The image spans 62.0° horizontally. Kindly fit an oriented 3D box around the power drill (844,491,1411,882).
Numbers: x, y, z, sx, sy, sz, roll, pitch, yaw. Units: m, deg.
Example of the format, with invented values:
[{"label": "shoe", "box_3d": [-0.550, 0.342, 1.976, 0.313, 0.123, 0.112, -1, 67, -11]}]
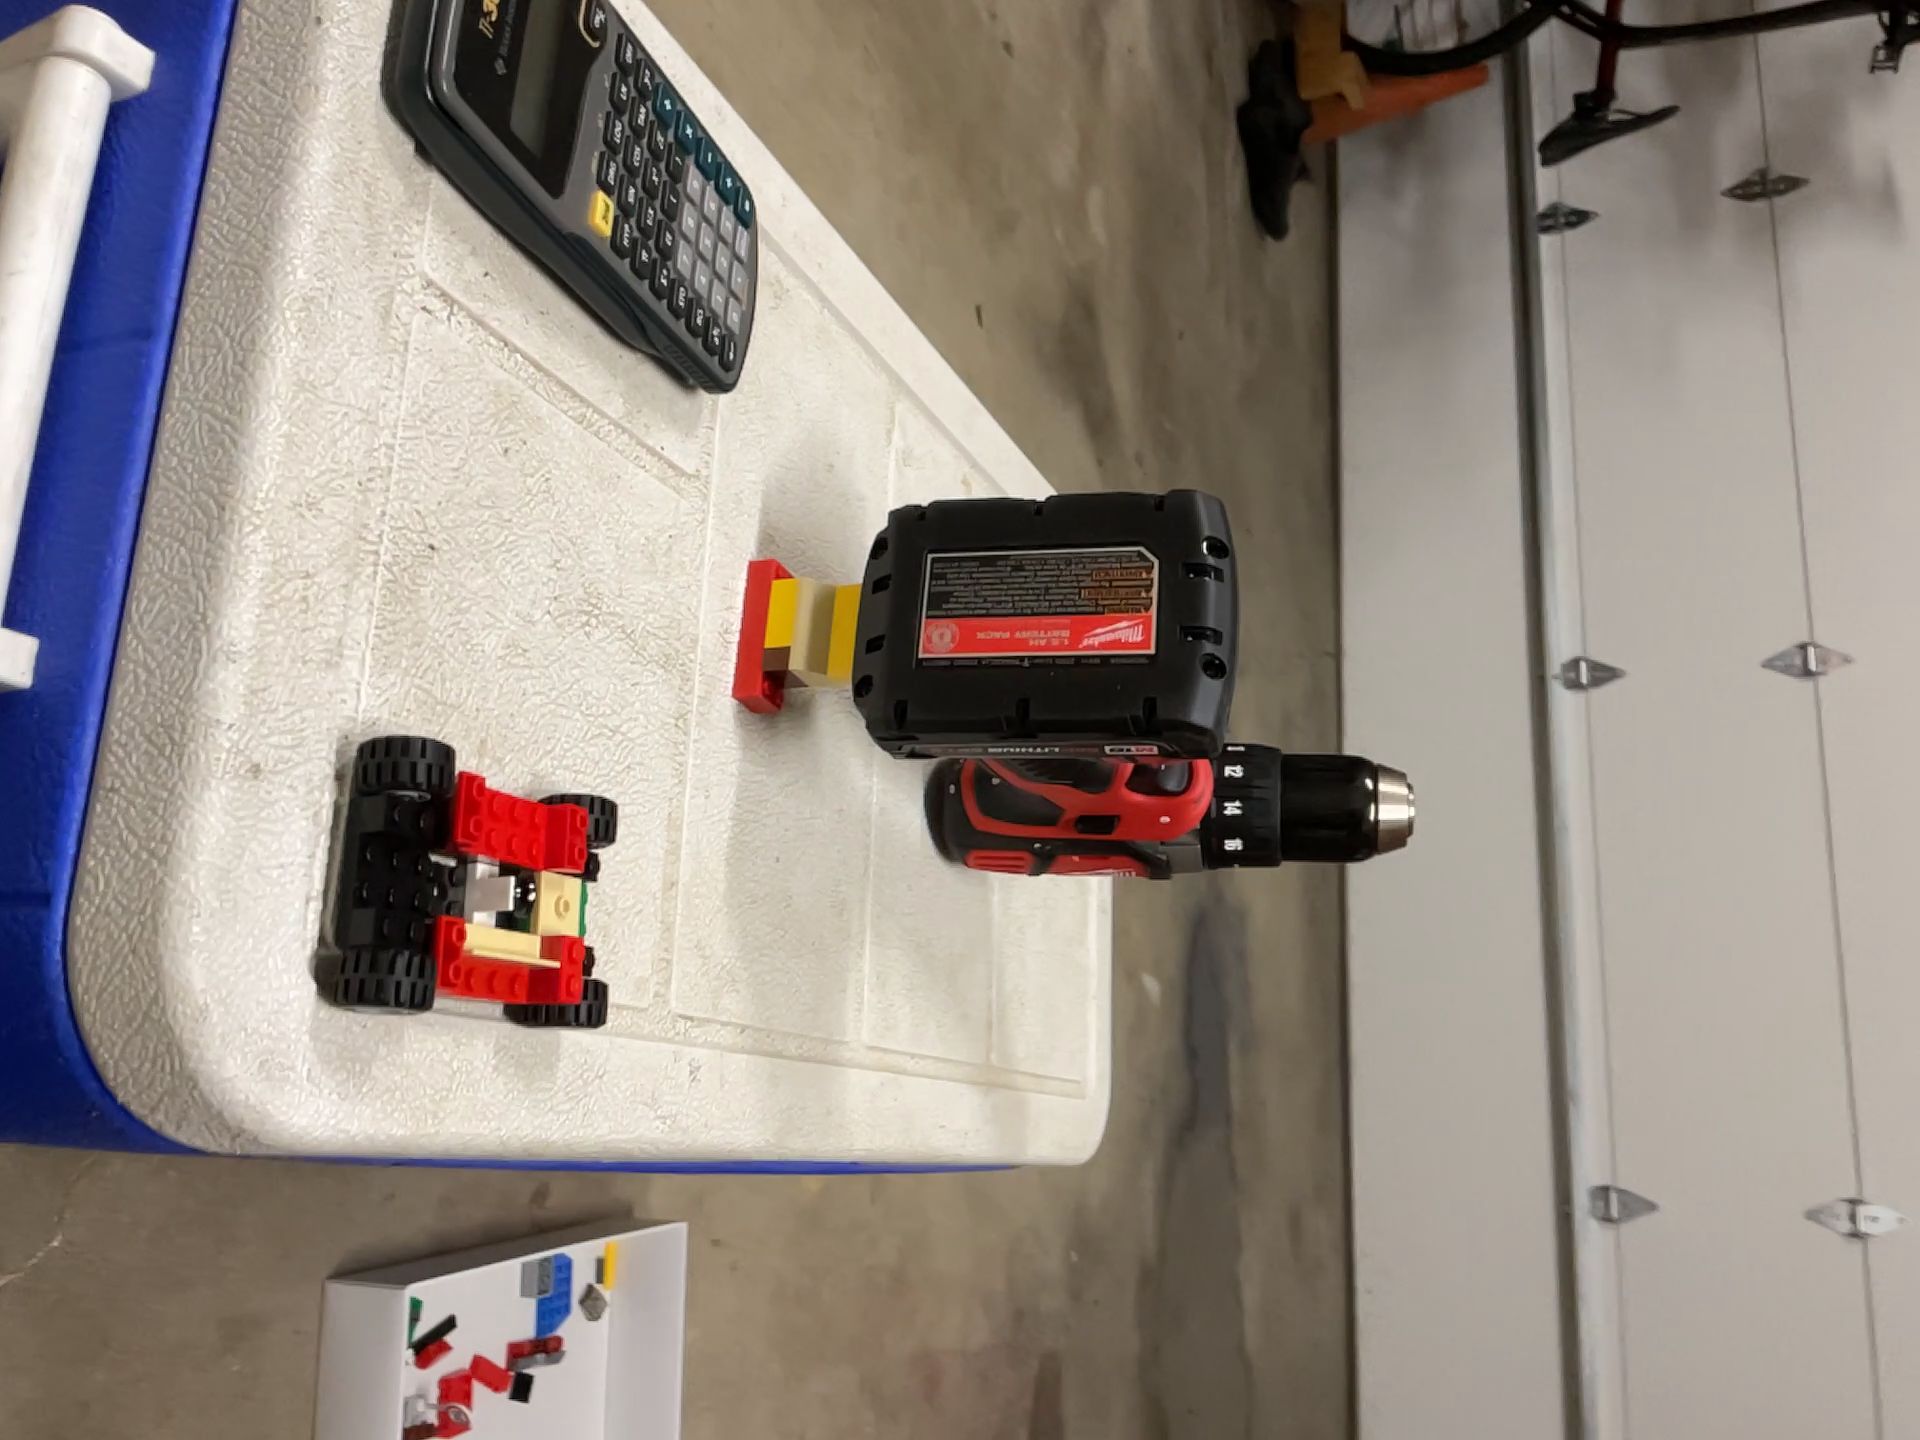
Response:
[{"label": "power drill", "box_3d": [0.067, 0.006, 0.573, 0.226, 0.188, 0.080, 59, 34, -65]}]
